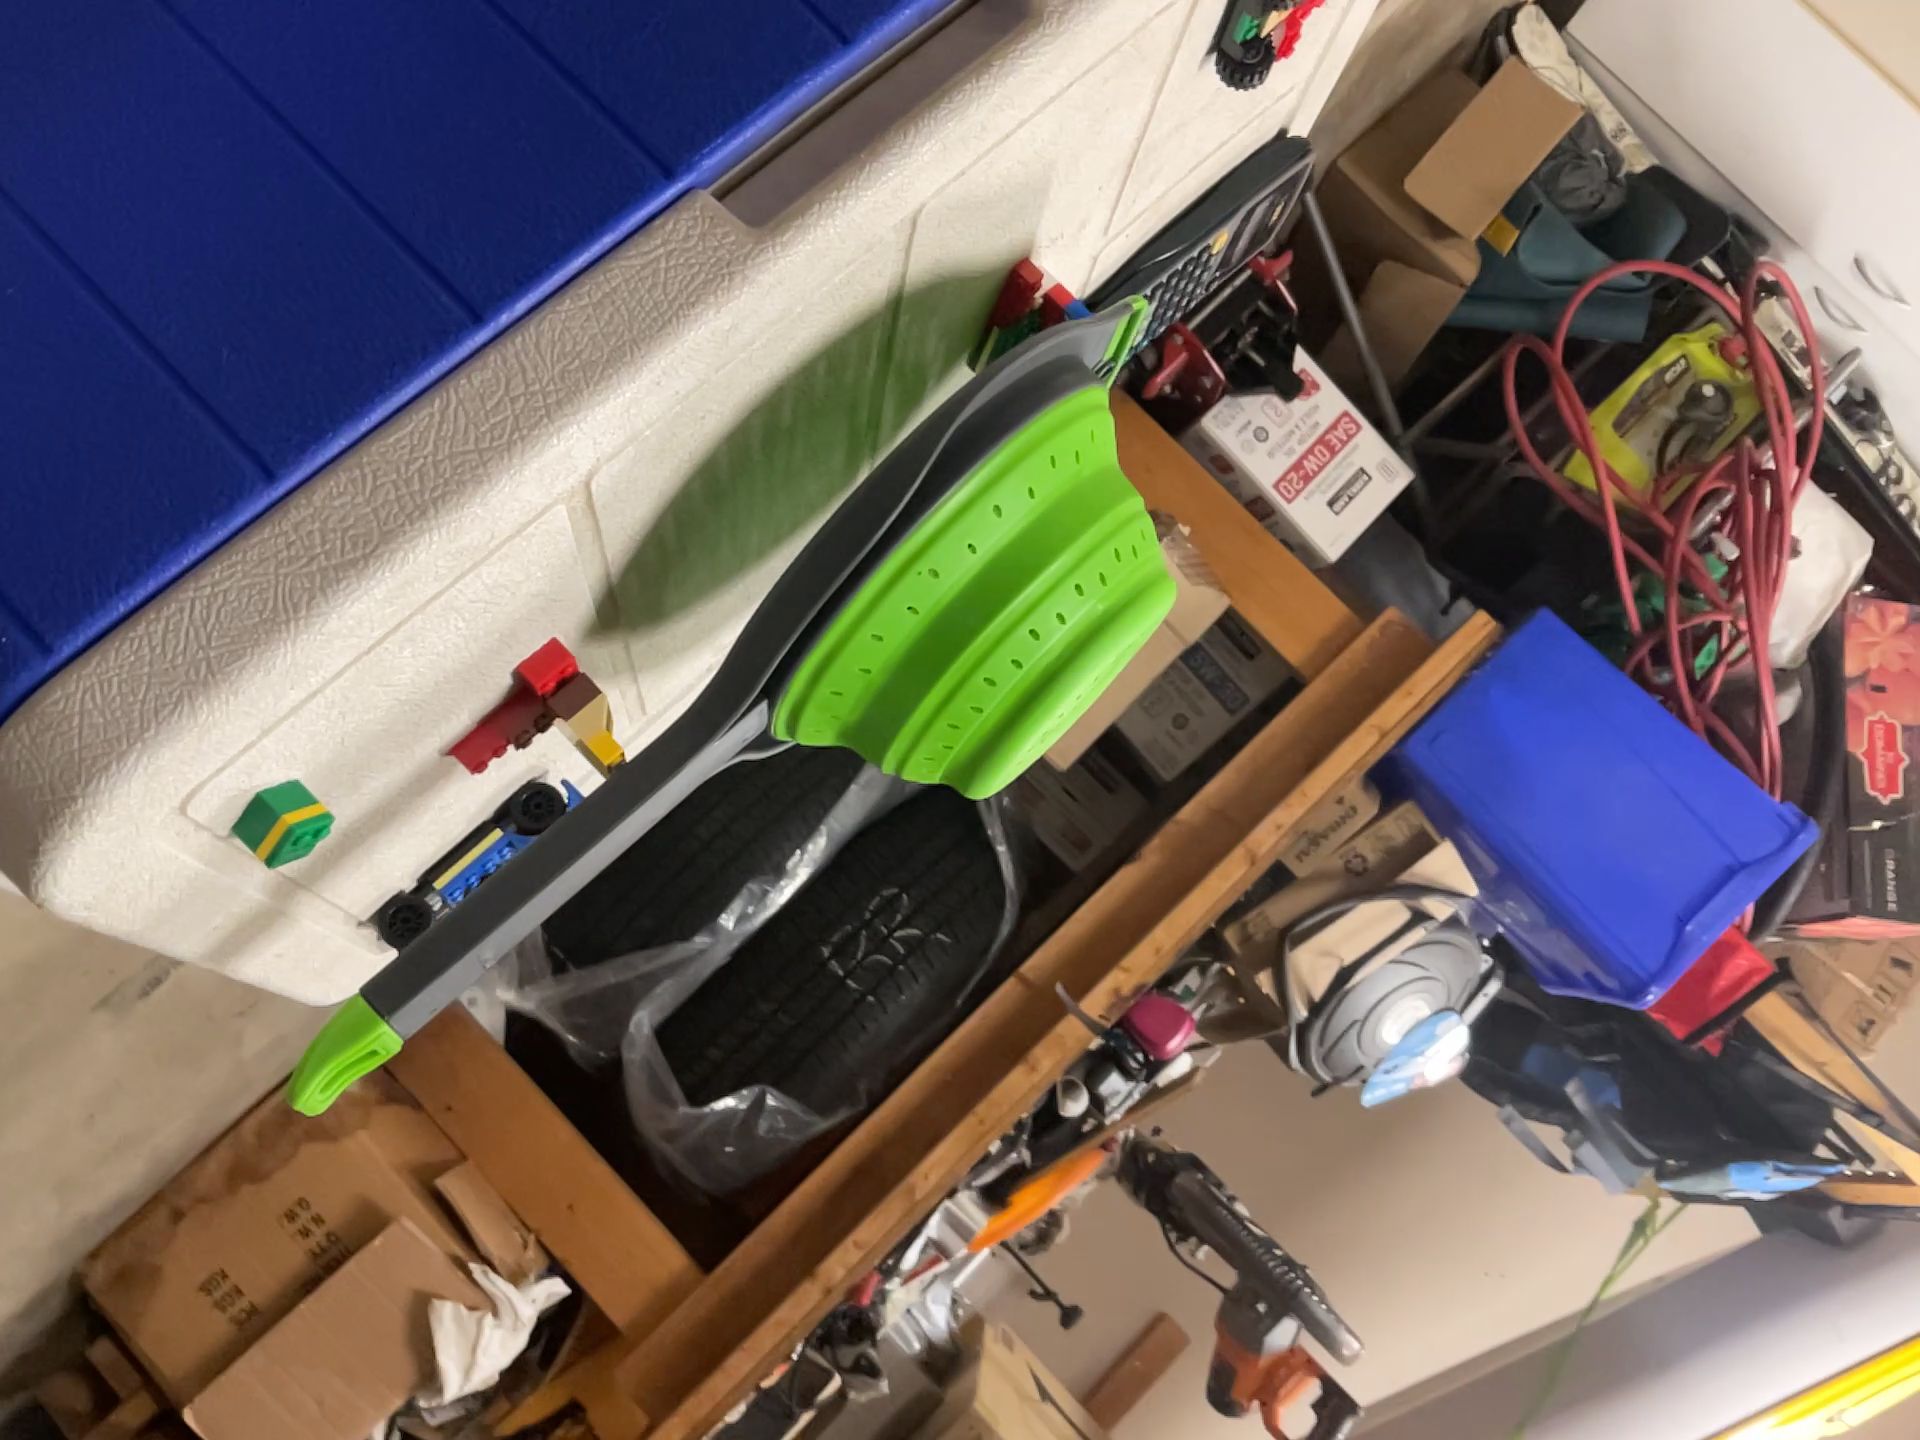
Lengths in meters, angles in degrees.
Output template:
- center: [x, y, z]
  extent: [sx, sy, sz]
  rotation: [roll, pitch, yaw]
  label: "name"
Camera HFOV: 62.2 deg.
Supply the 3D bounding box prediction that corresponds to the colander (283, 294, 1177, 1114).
- center: [-0.045, 0.013, 0.553]
  extent: [0.397, 0.094, 0.204]
  rotation: [-43, 173, -21]
  label: "colander"
